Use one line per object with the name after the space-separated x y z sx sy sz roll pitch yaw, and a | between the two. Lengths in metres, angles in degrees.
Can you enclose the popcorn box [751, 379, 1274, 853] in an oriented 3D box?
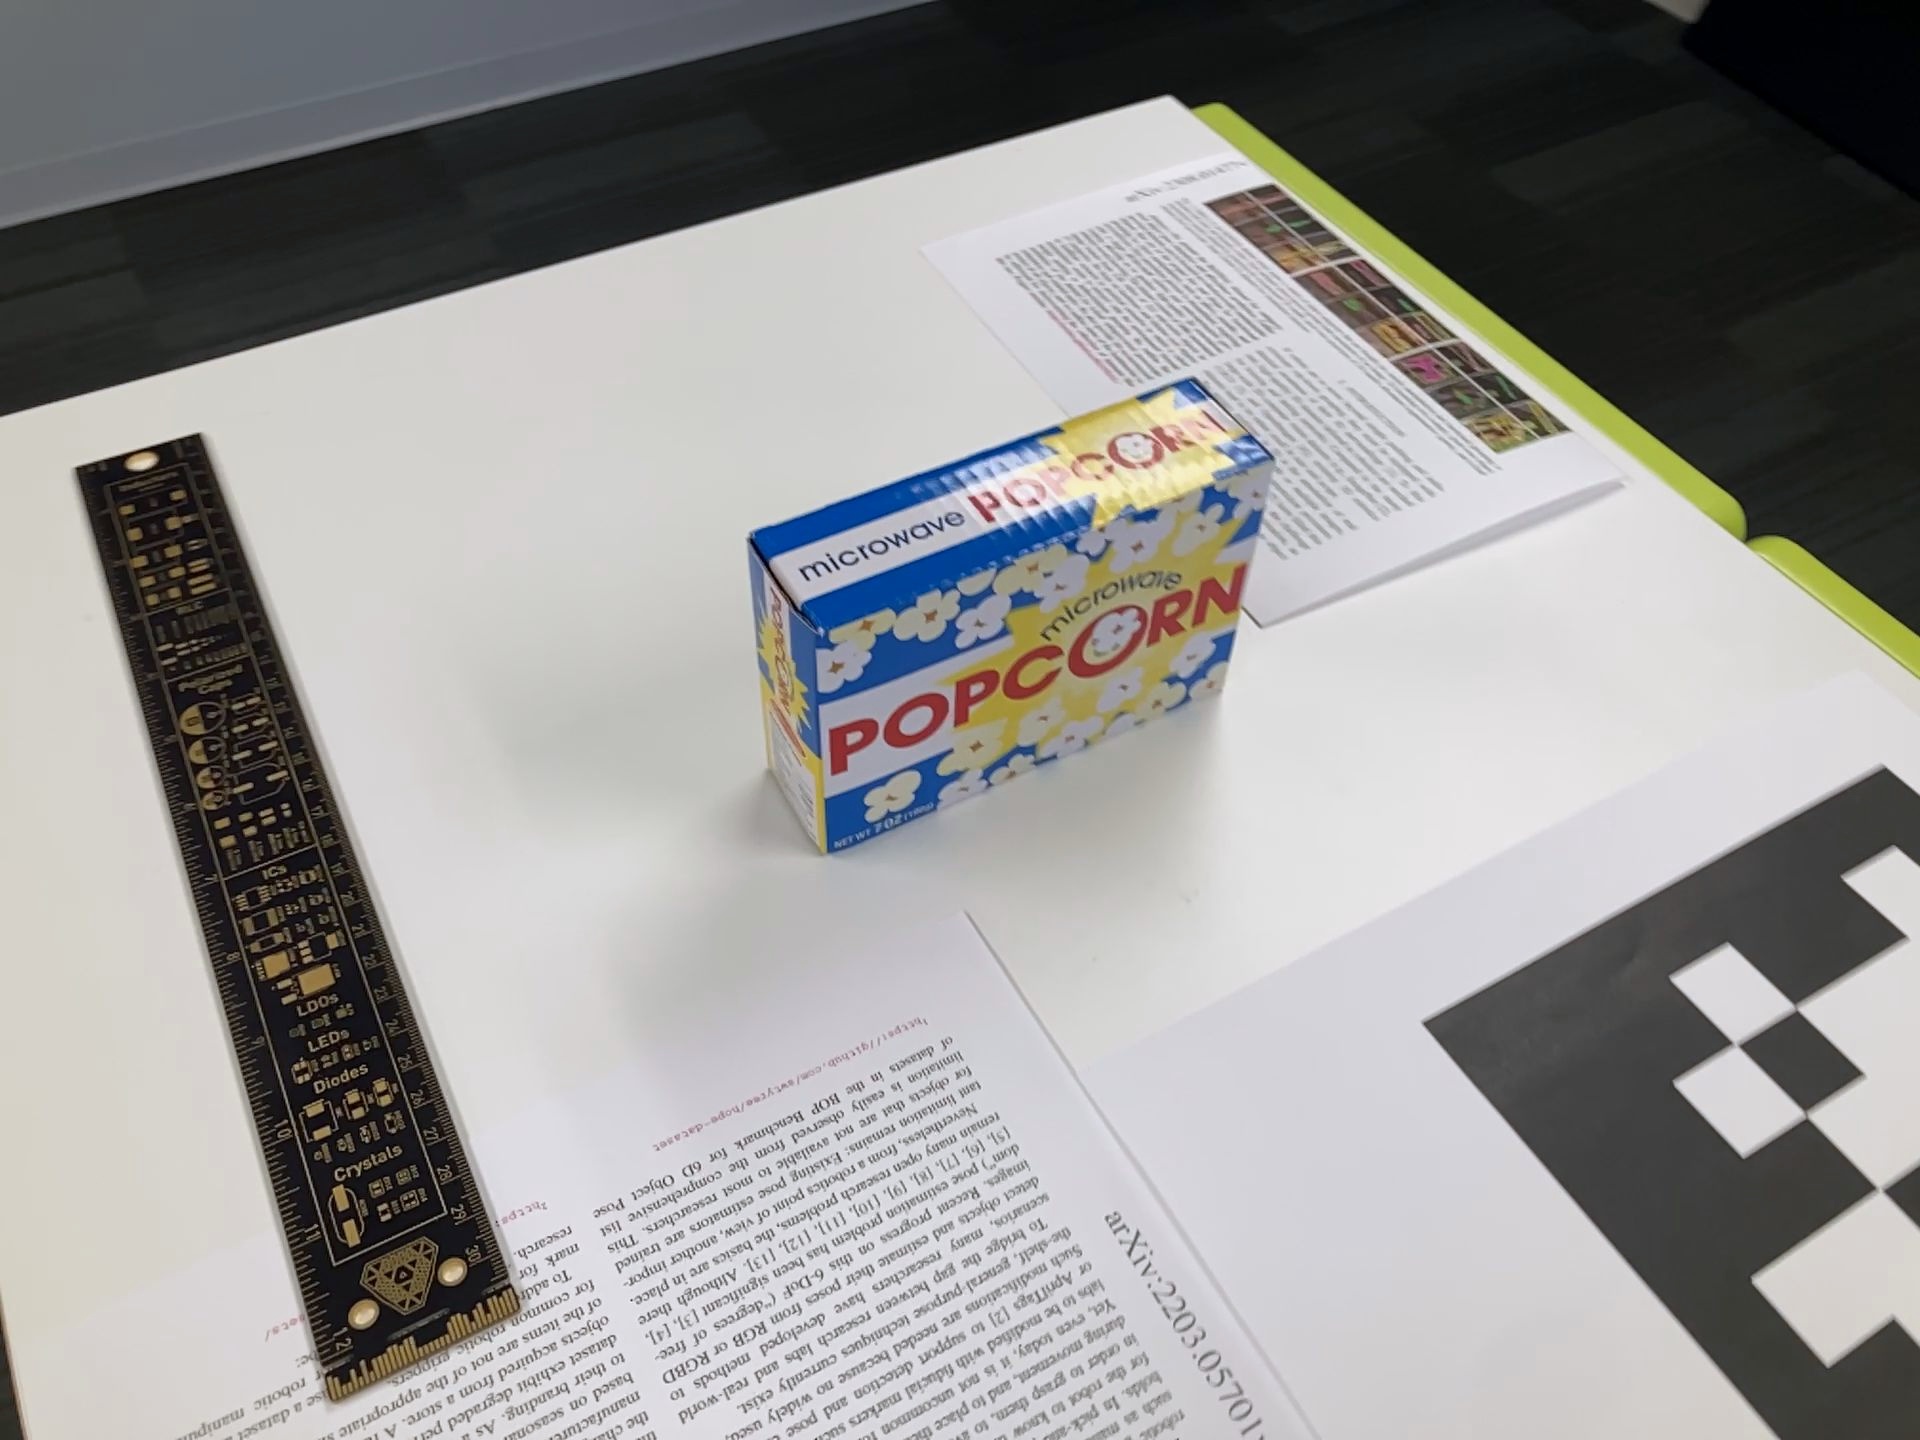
0.013 -0.026 0.402 0.126 0.085 0.038 -22 53 -20 | popcorn box
